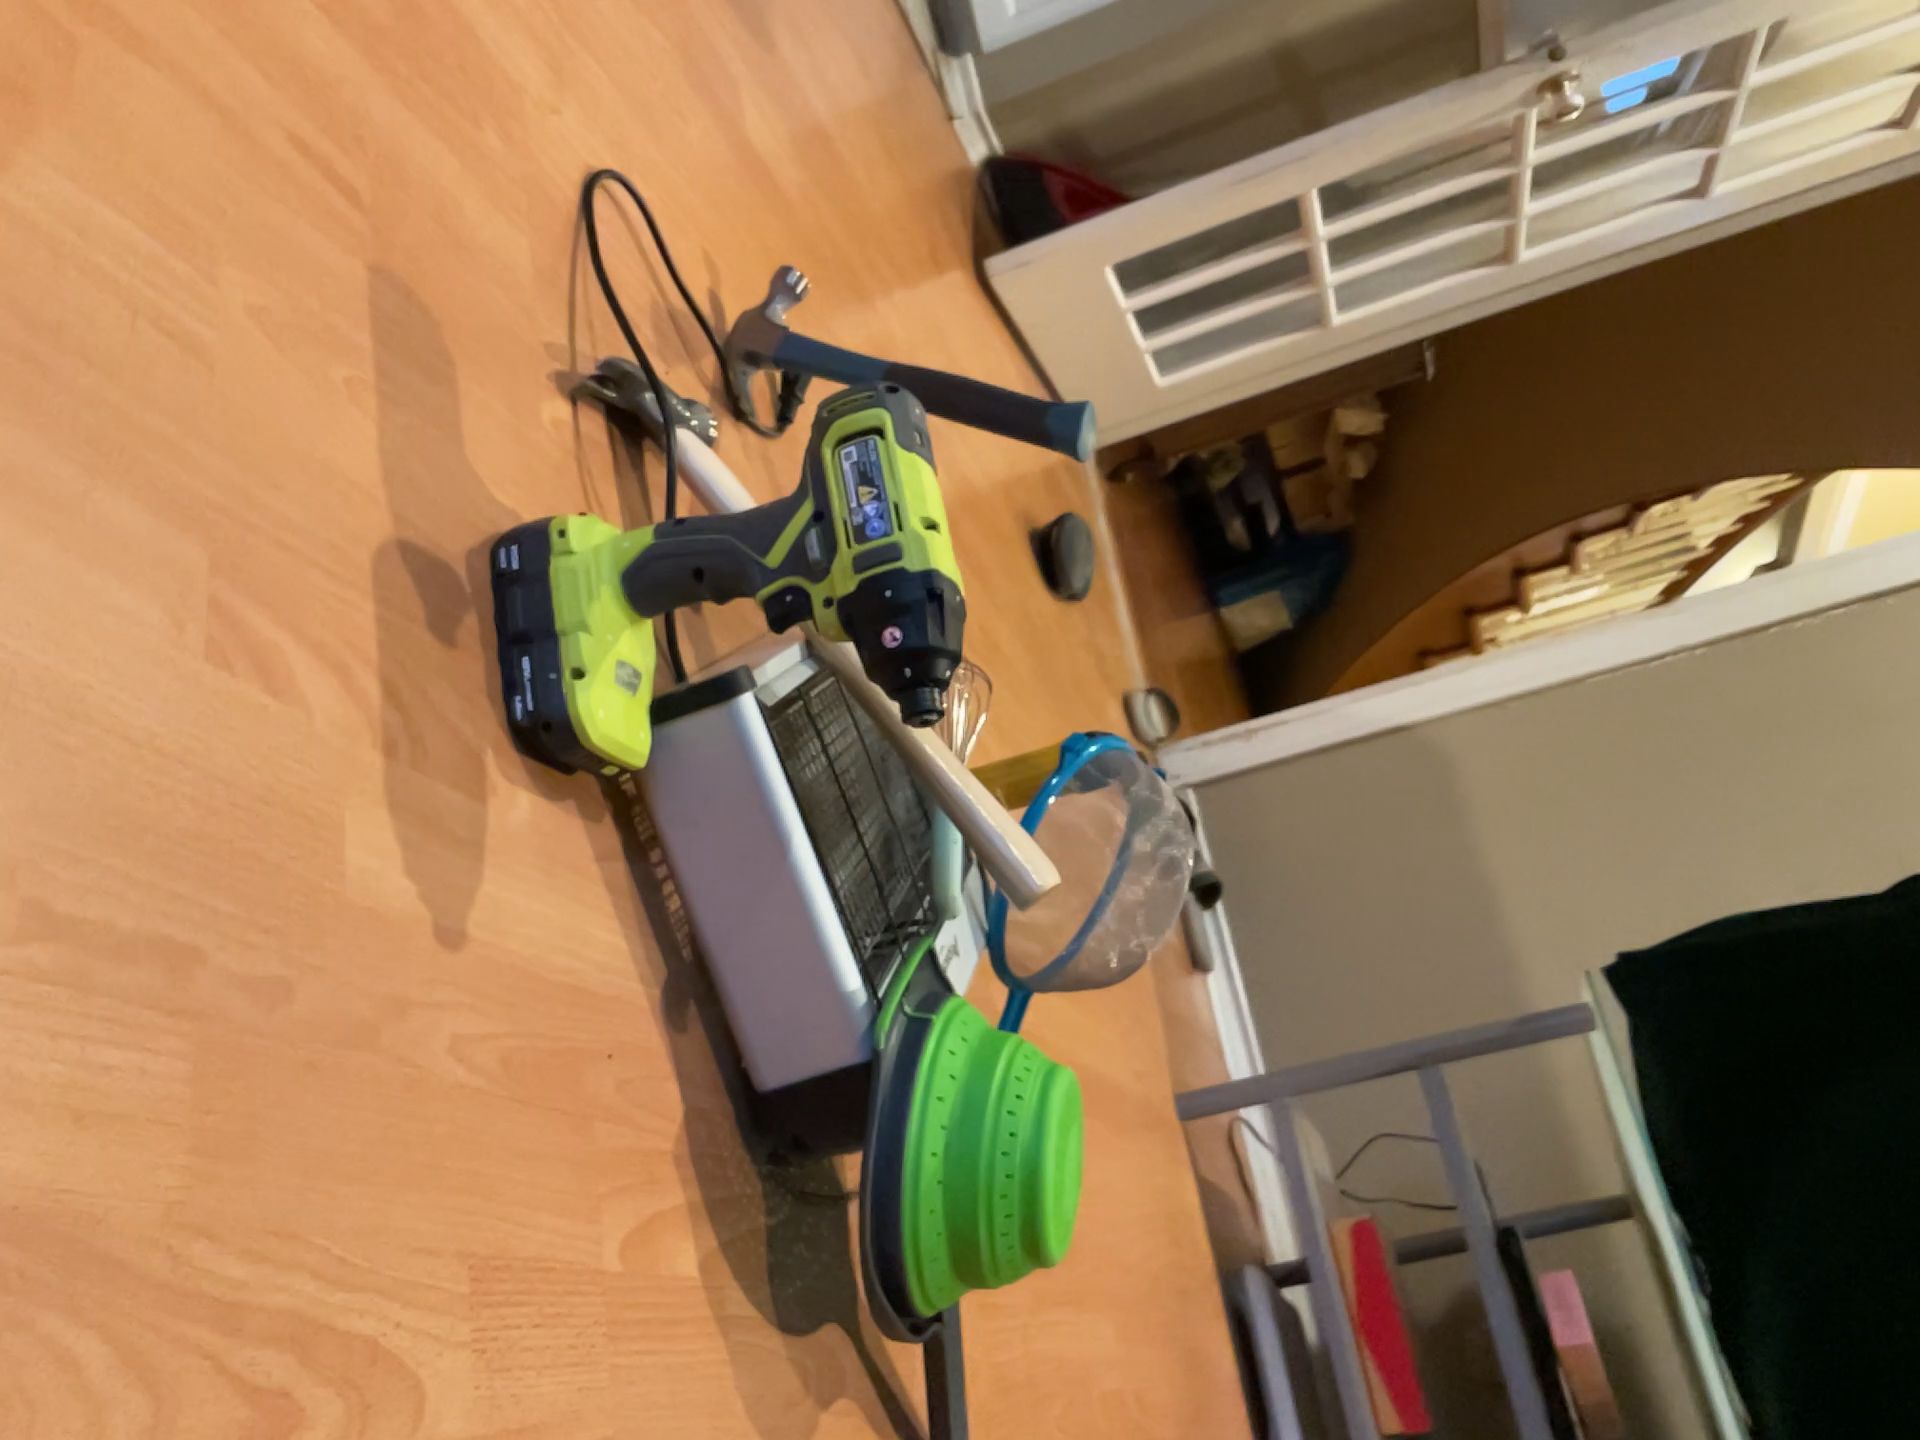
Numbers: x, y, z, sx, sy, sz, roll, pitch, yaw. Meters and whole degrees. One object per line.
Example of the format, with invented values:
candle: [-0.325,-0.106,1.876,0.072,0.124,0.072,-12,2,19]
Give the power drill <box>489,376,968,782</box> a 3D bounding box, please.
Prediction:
power drill: [-0.109,-0.056,0.785,0.080,0.223,0.171,42,35,-65]

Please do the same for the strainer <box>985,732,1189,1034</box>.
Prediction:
strainer: [0.092,0.184,1.214,0.211,0.095,0.340,21,89,-61]

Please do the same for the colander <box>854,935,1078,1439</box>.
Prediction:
colander: [0.019,0.322,0.938,0.205,0.094,0.396,-58,147,-64]

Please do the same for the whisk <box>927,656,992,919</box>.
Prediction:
whisk: [-0.007,0.039,1.126,0.057,0.059,0.246,102,-8,-45]

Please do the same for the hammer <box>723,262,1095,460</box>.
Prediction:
hammer: [-0.043,-0.250,1.171,0.128,0.331,0.033,-59,149,-15]

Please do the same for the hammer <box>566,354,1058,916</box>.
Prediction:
hammer: [-0.083,-0.053,0.961,0.410,0.038,0.146,51,9,11]
